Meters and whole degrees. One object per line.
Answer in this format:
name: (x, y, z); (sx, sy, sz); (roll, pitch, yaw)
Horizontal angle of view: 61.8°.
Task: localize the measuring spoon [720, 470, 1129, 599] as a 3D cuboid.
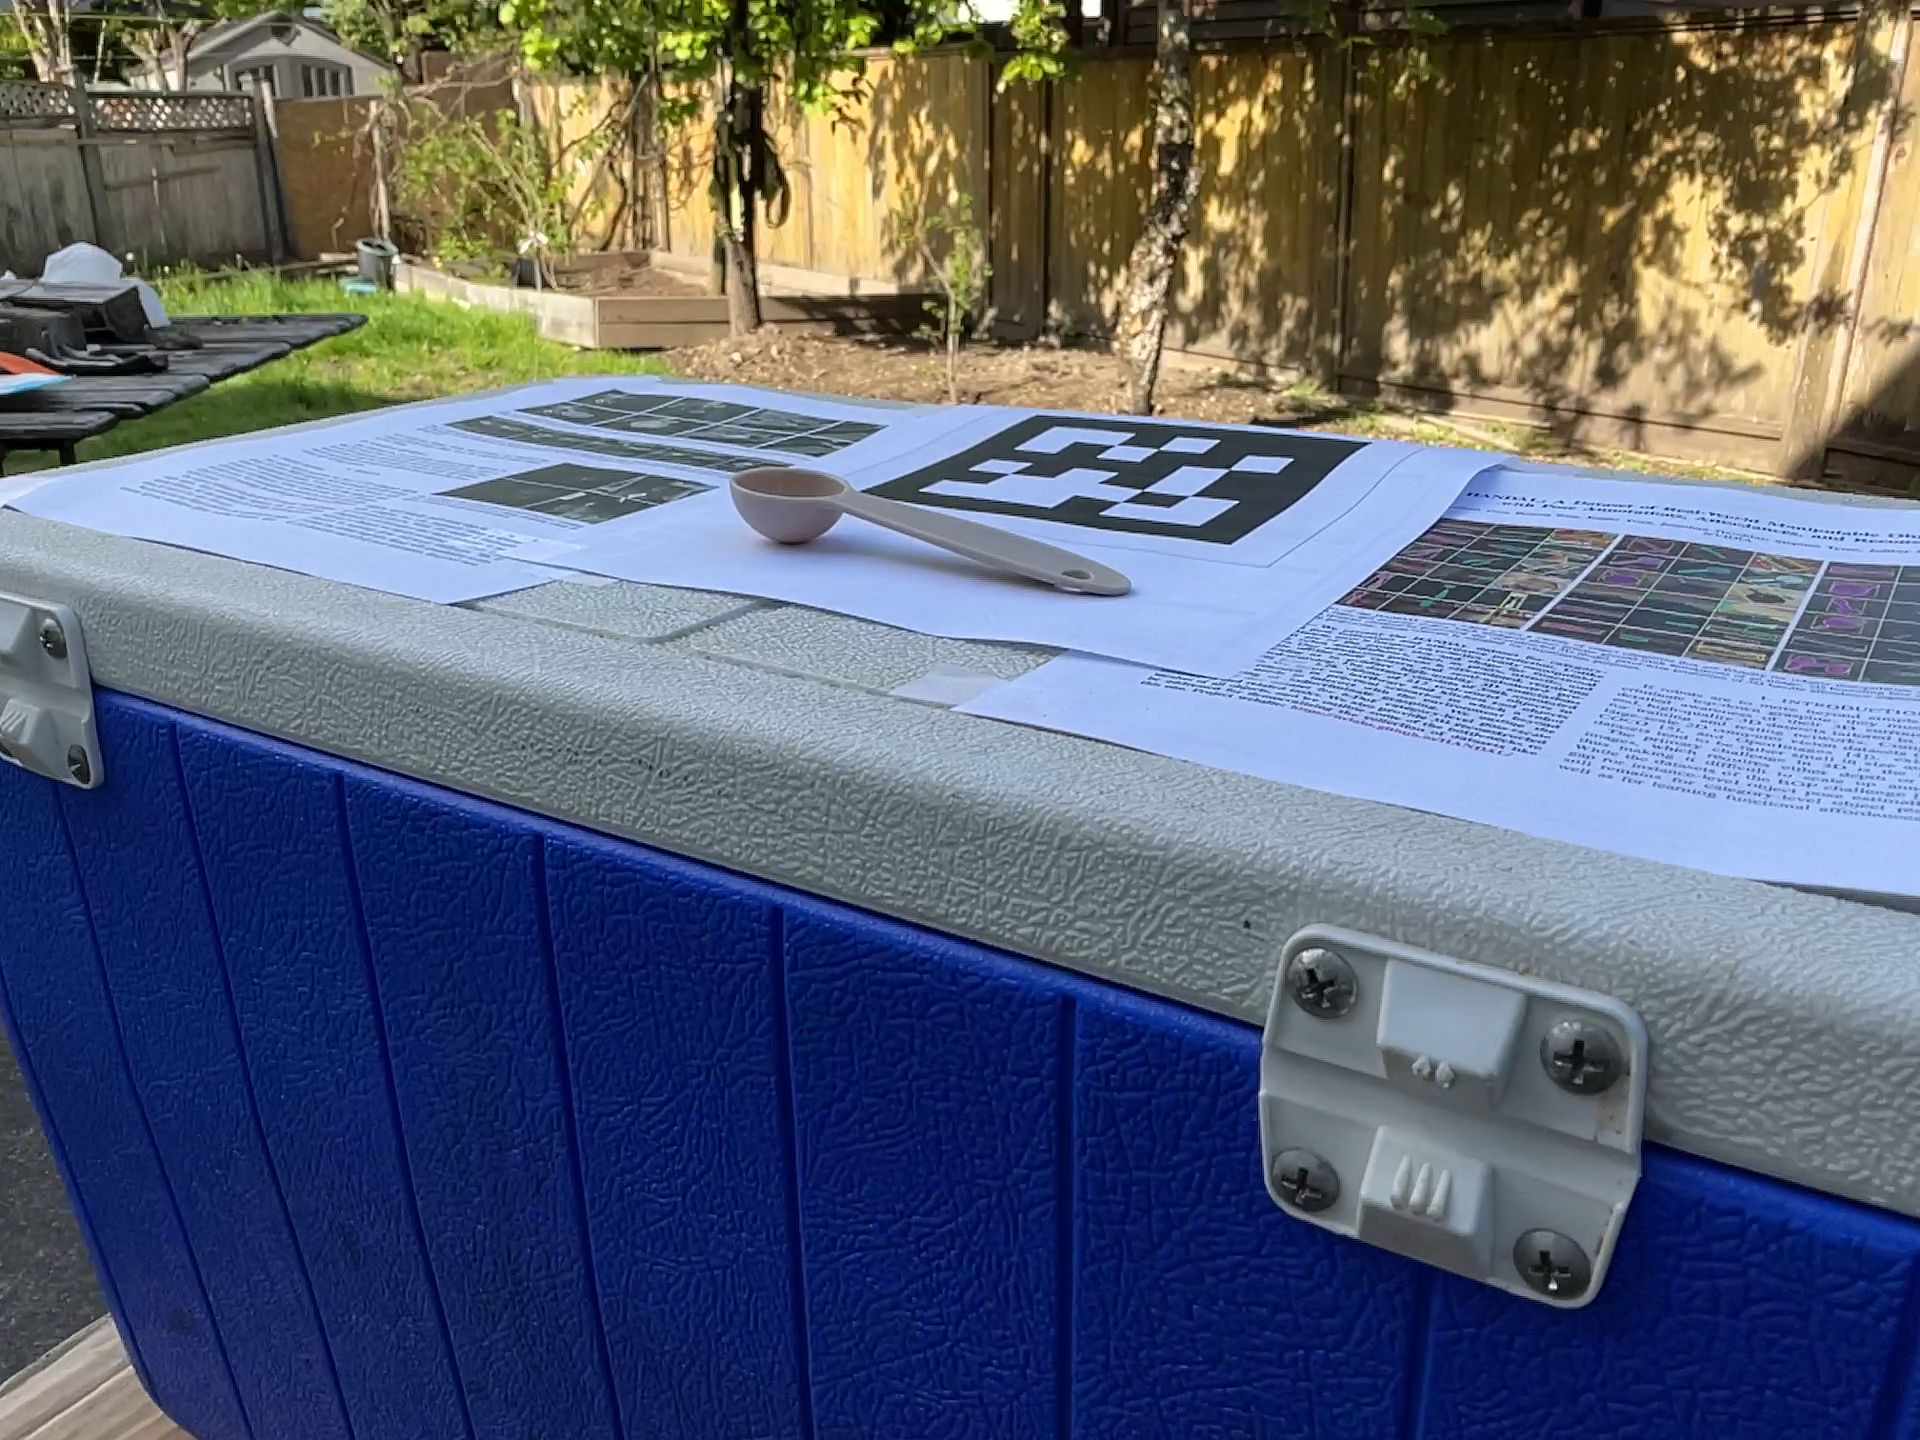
measuring spoon: (-0.012, -0.045, 0.427); (0.124, 0.018, 0.034); (19, 26, 26)
